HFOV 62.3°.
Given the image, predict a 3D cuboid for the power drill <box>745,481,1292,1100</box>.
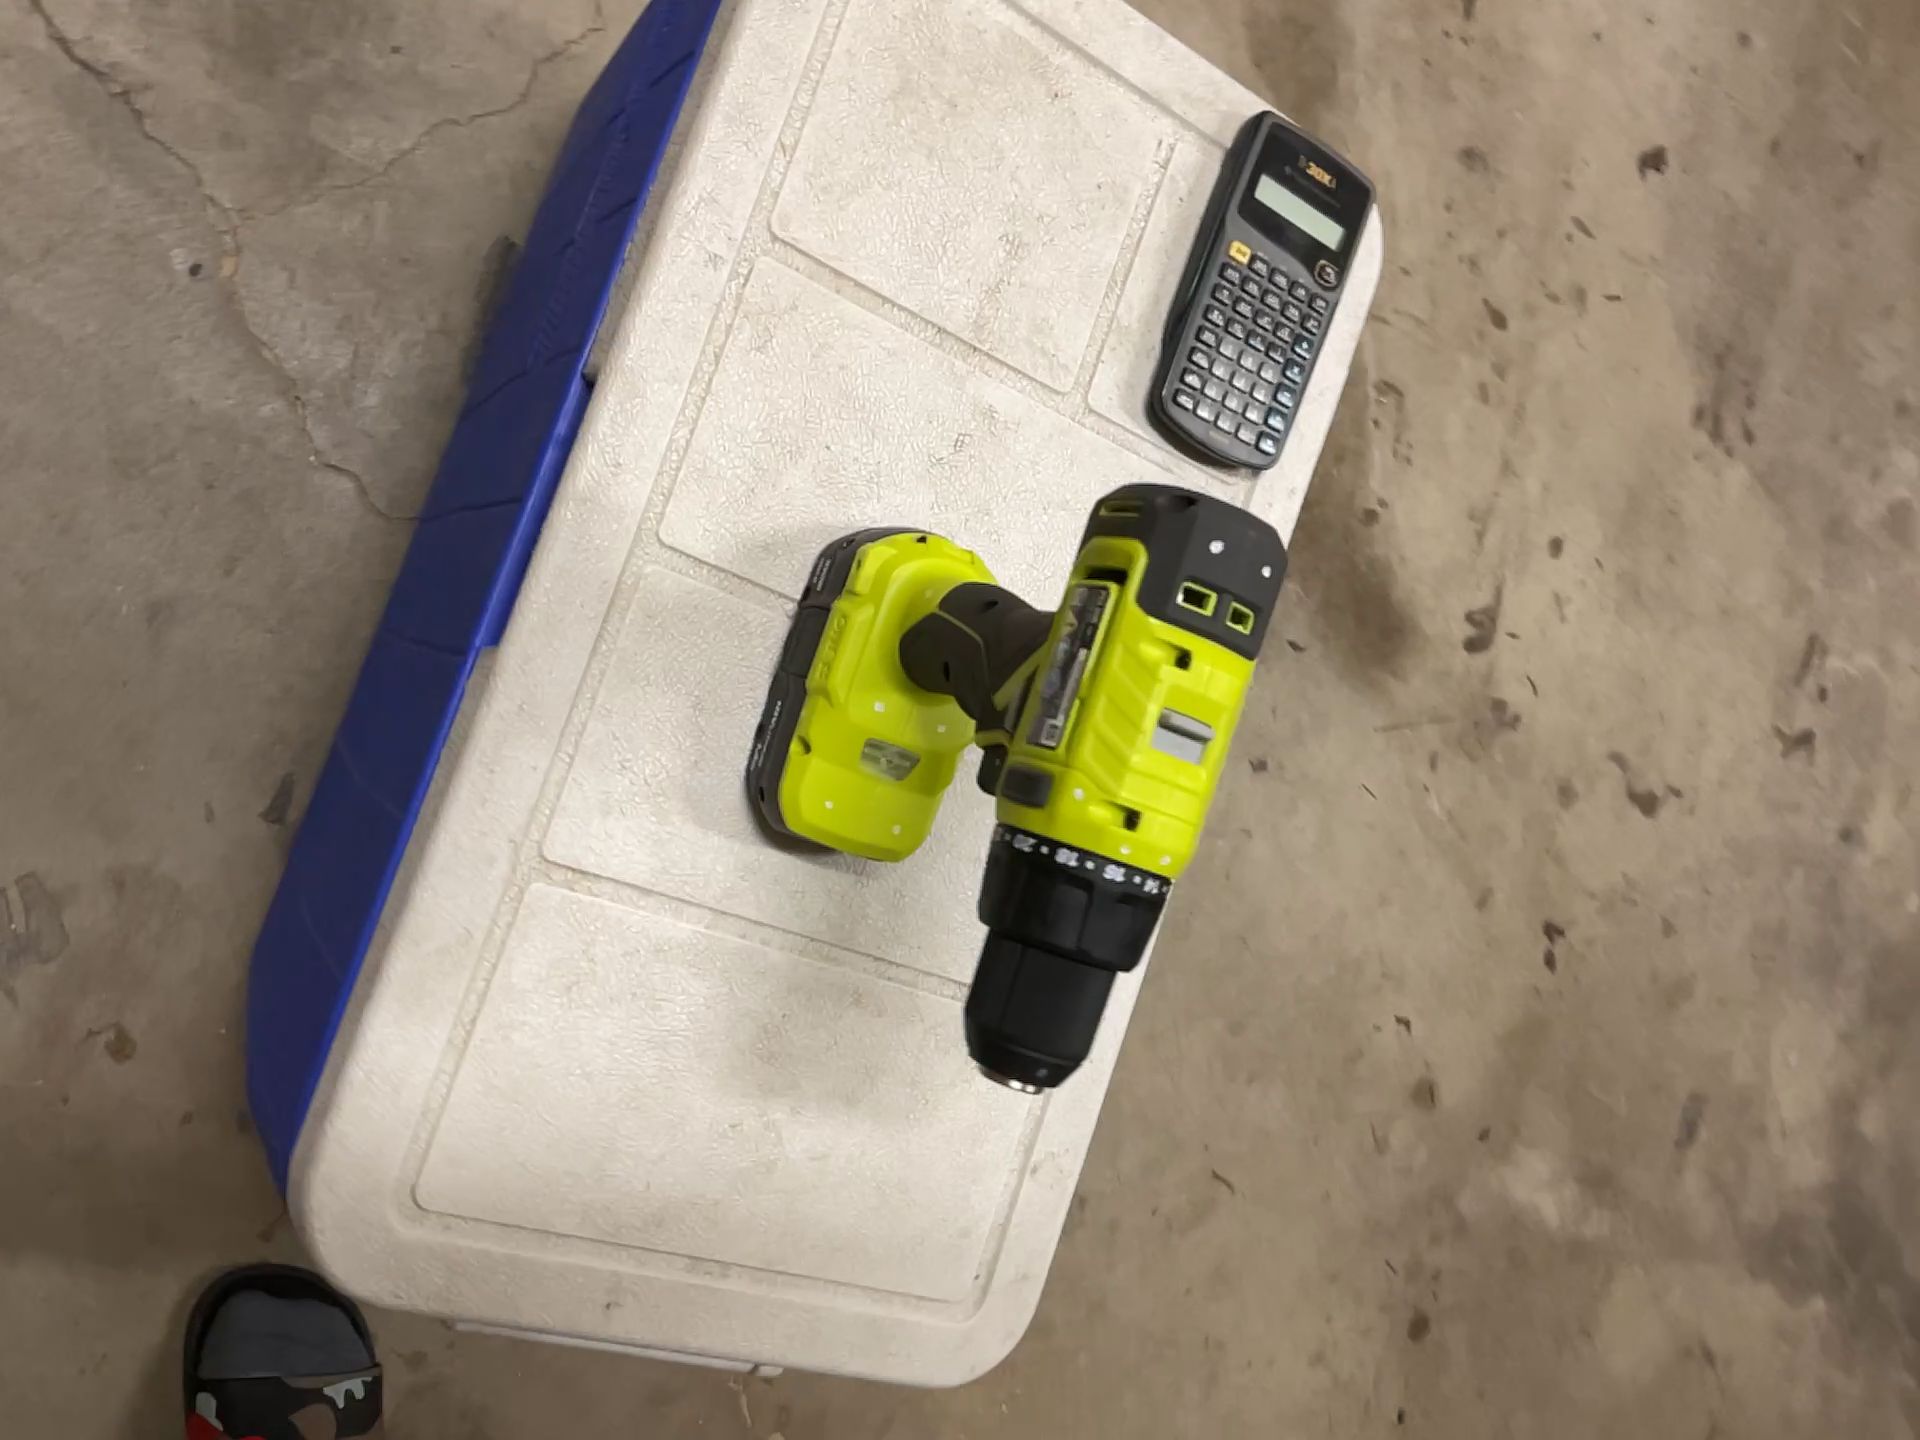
[{"bbox_3d":[0.007,0.014,0.566,0.080,0.228,0.190,21,87,-29],"label":"power drill"}]
